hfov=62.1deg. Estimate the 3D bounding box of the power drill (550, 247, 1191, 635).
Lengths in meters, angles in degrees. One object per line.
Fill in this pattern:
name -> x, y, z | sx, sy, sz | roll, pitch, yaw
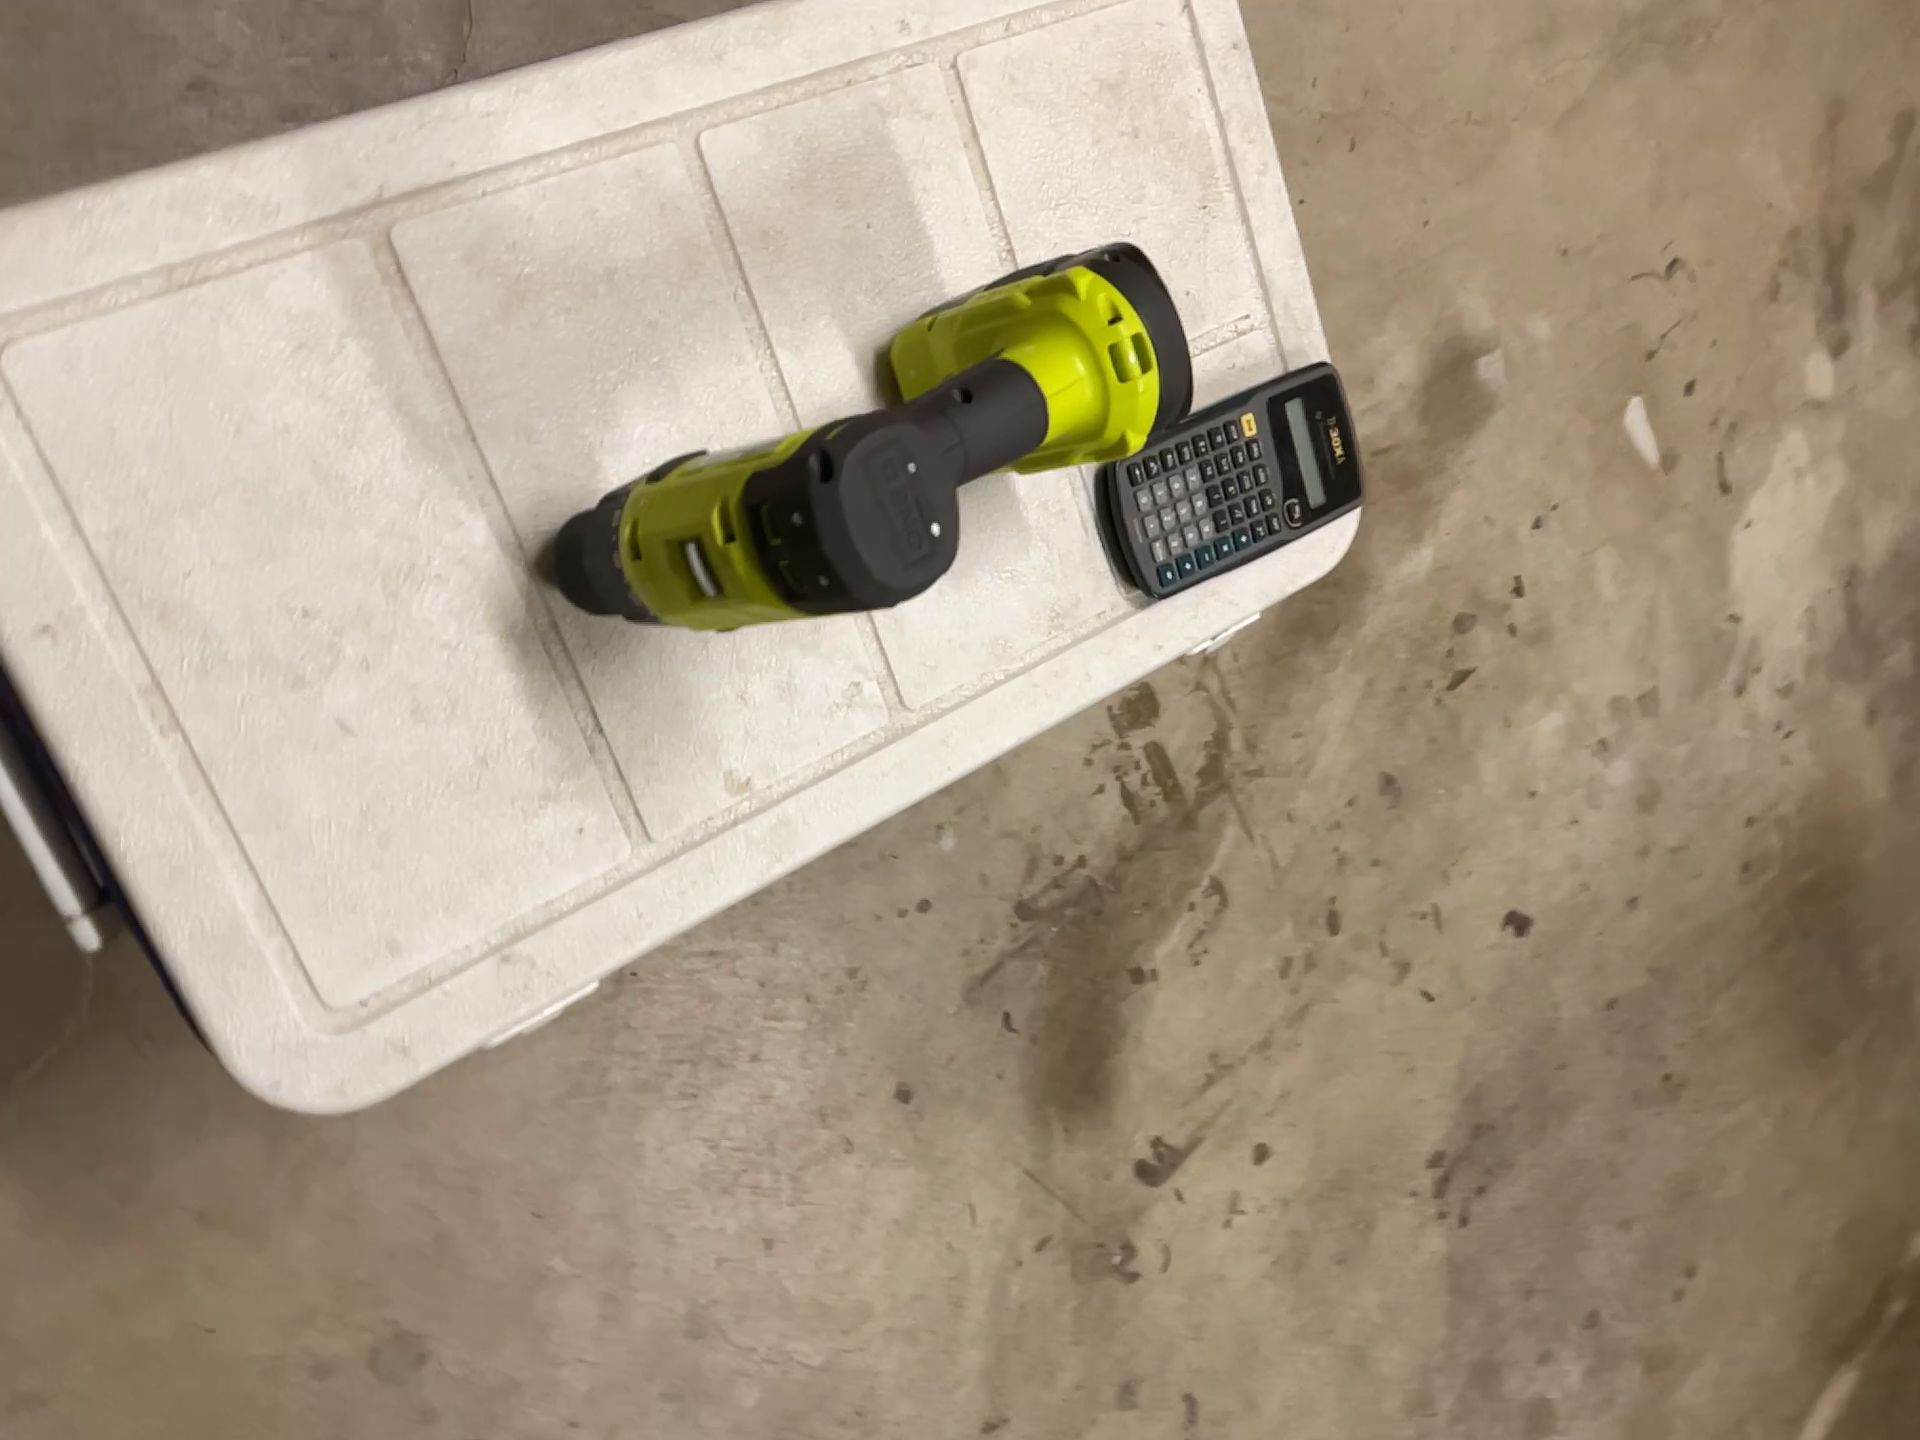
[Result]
power drill -> -0.035, -0.101, 0.617 | 0.229, 0.190, 0.080 | -37, 113, -39
